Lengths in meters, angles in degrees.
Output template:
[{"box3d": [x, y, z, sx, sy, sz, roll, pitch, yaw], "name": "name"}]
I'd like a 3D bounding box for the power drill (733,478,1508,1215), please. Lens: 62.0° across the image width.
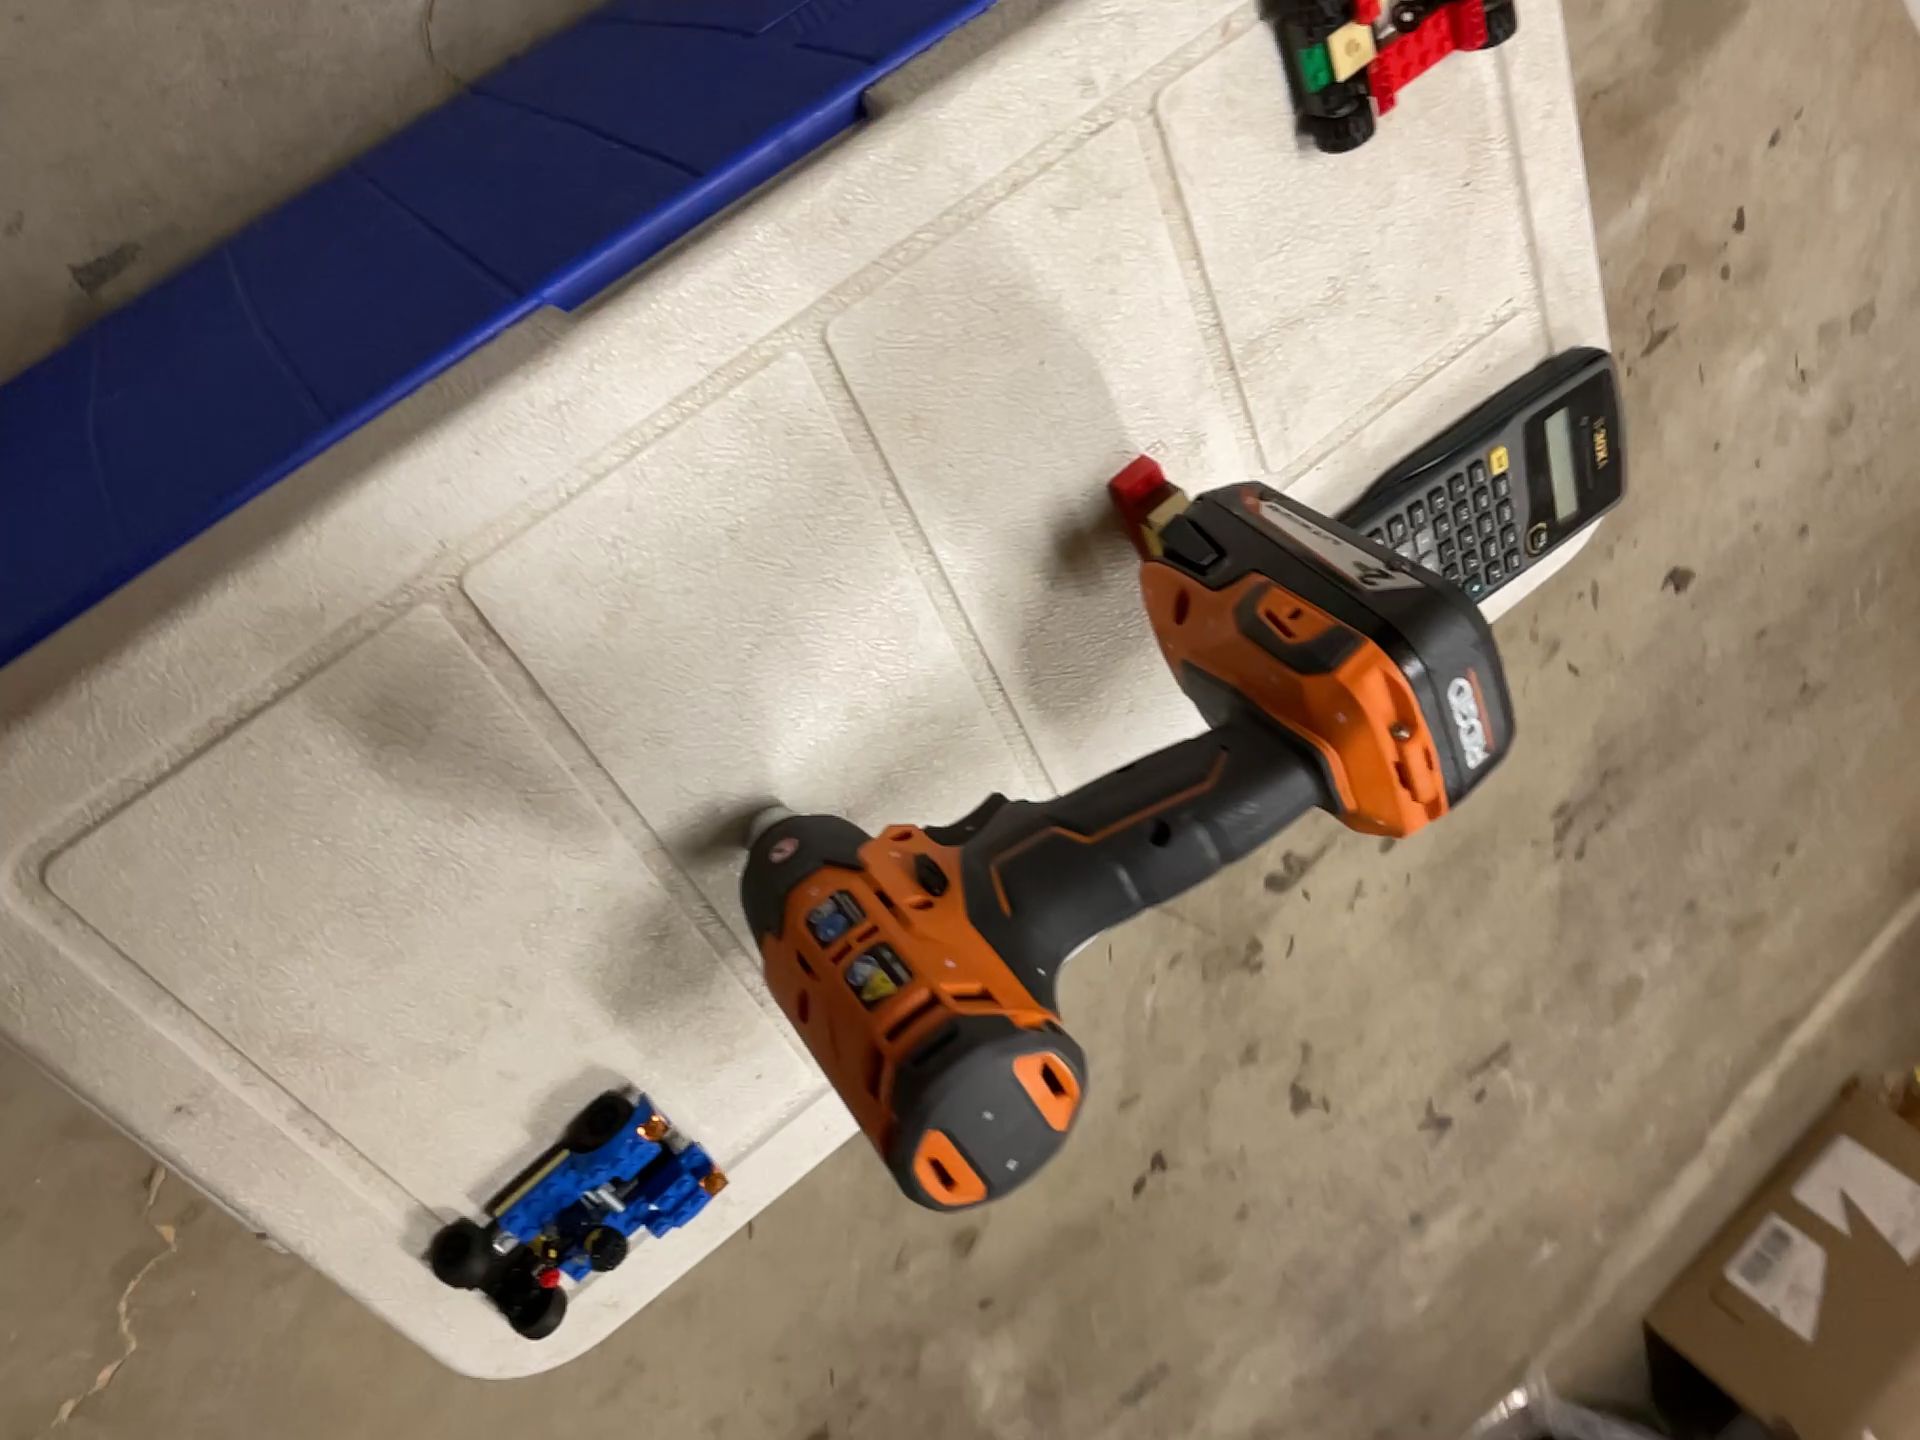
[{"box3d": [0.035, 0.025, 0.501, 0.226, 0.164, 0.084, -38, 131, -9], "name": "power drill"}]
